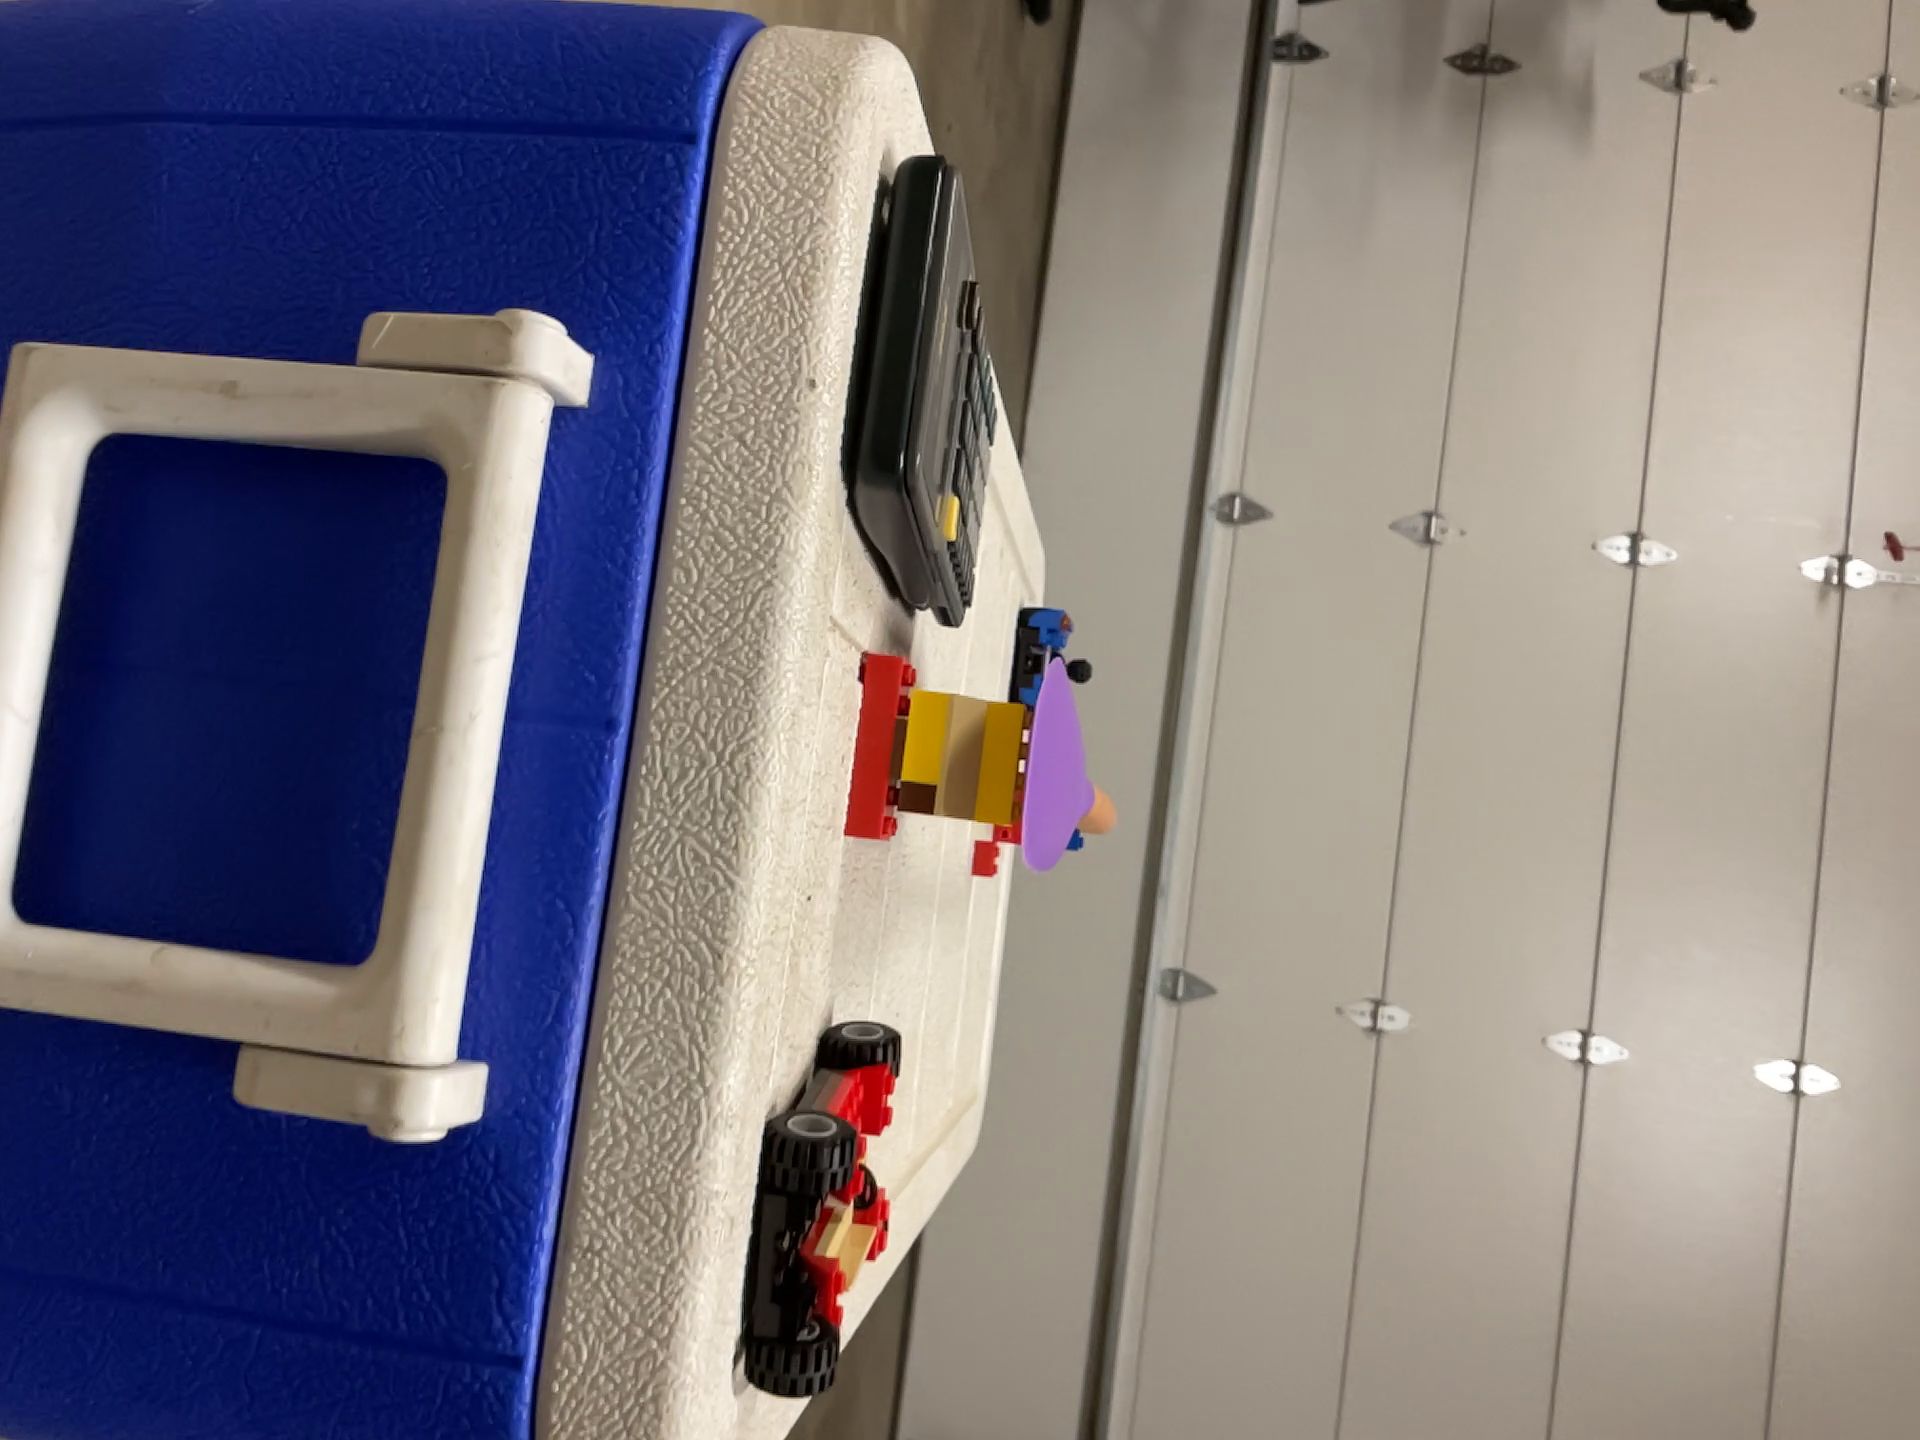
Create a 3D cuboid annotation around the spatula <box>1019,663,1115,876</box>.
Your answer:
[{"bbox_3d":[0.040,0.026,0.555,0.316,0.018,0.060,39,59,-80],"label":"spatula"}]
